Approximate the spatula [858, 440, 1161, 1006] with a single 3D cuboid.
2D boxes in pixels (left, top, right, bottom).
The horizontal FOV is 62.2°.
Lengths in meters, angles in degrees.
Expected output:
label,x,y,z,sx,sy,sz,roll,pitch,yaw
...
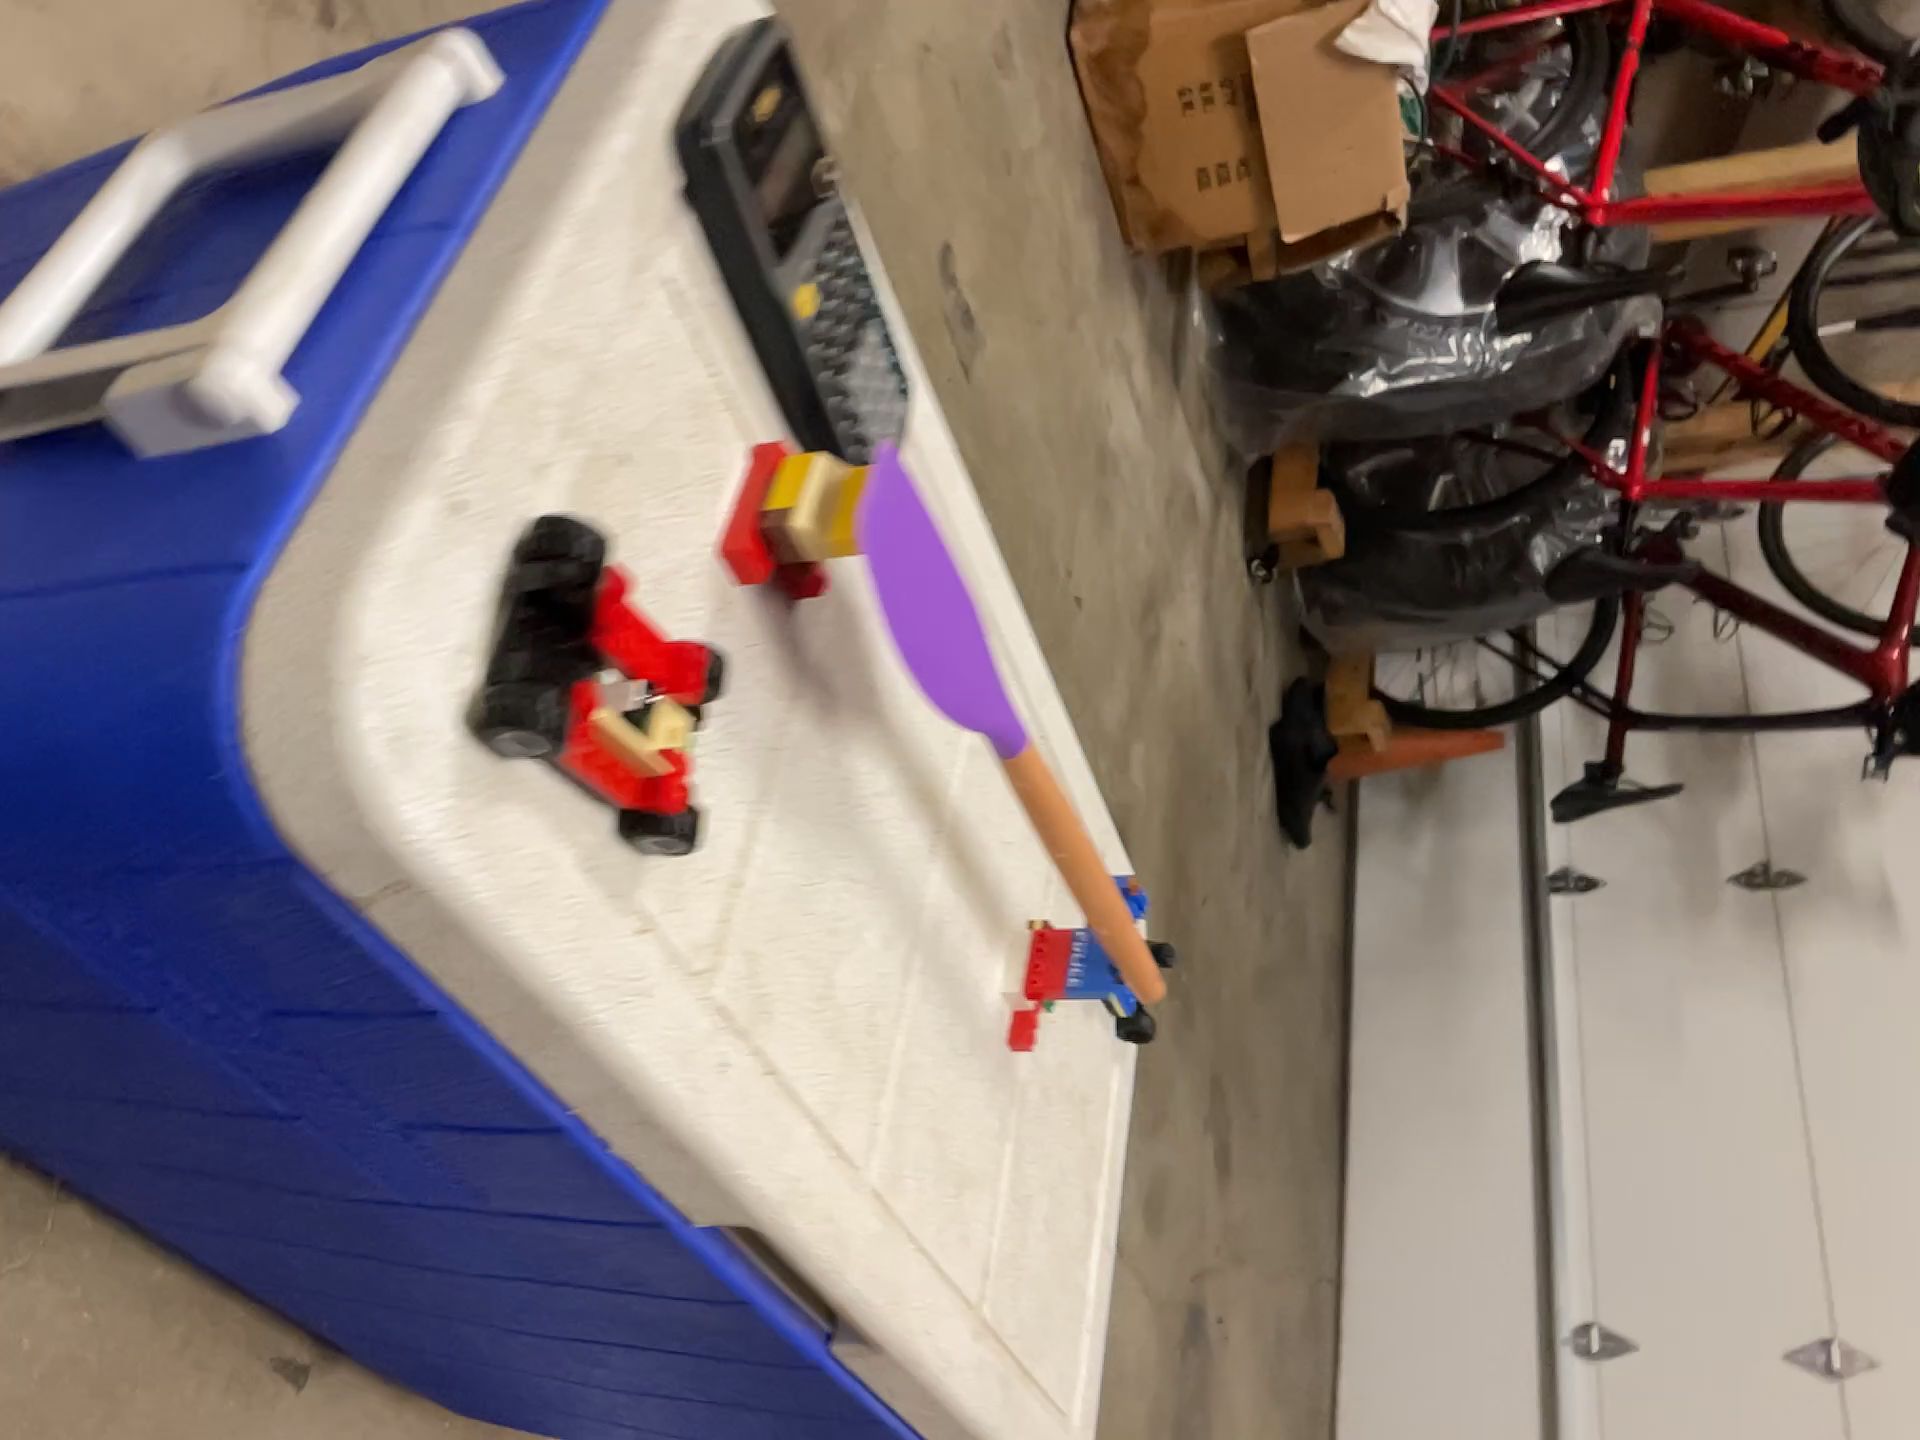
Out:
label,x,y,z,sx,sy,sz,roll,pitch,yaw
spatula,0.026,0.027,0.588,0.316,0.018,0.060,60,32,-46
